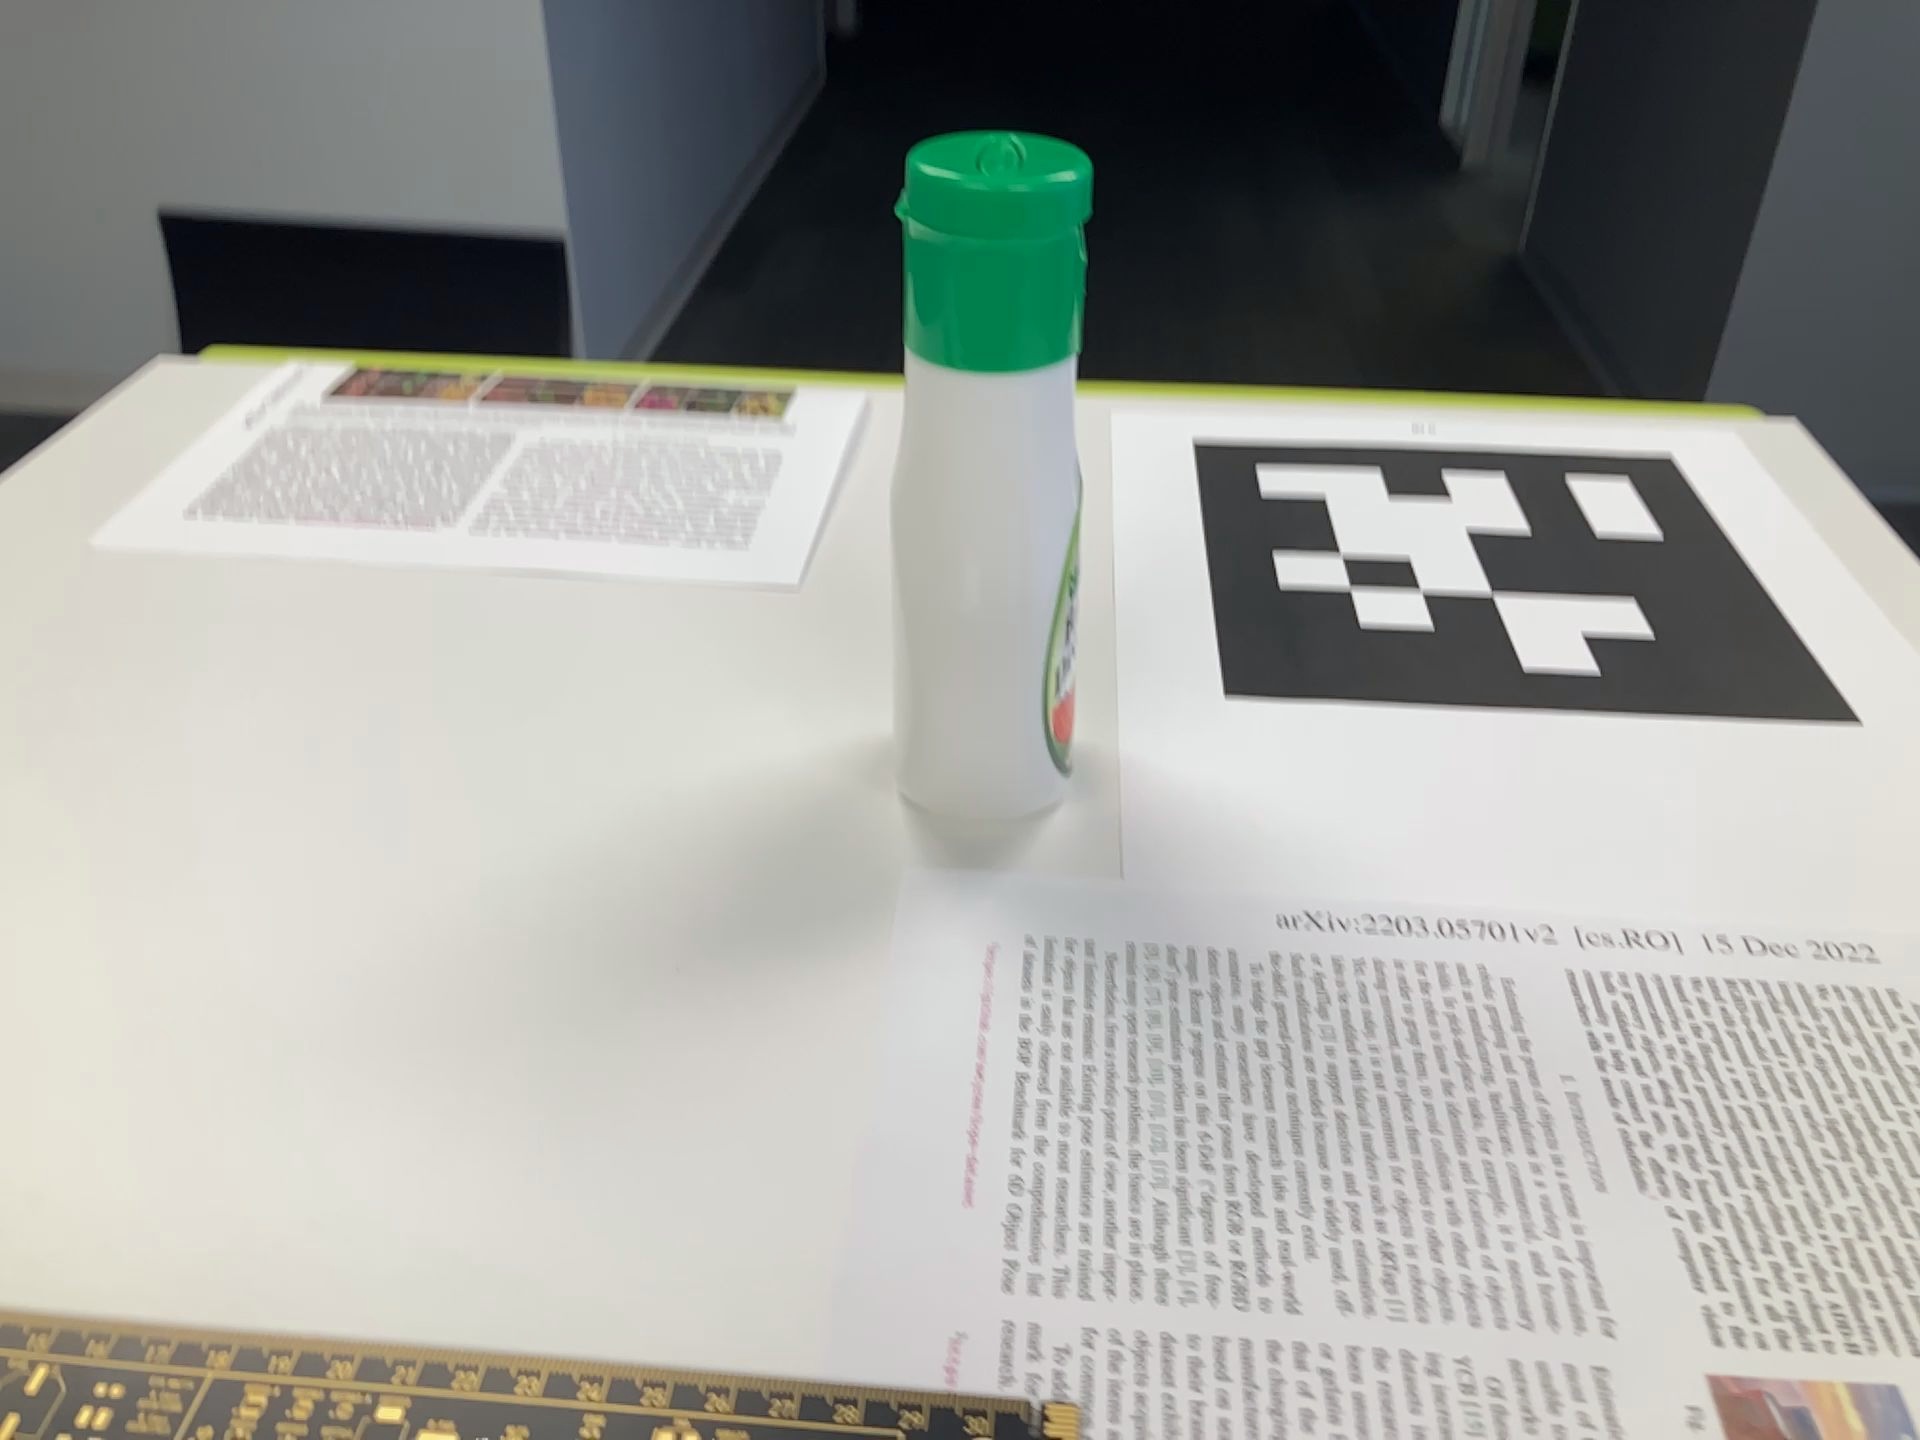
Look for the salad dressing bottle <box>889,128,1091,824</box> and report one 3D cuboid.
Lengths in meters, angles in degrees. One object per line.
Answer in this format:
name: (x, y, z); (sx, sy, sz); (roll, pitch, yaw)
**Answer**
salad dressing bottle: (0.006, -0.048, 0.344); (0.044, 0.147, 0.064); (3, 34, 4)
